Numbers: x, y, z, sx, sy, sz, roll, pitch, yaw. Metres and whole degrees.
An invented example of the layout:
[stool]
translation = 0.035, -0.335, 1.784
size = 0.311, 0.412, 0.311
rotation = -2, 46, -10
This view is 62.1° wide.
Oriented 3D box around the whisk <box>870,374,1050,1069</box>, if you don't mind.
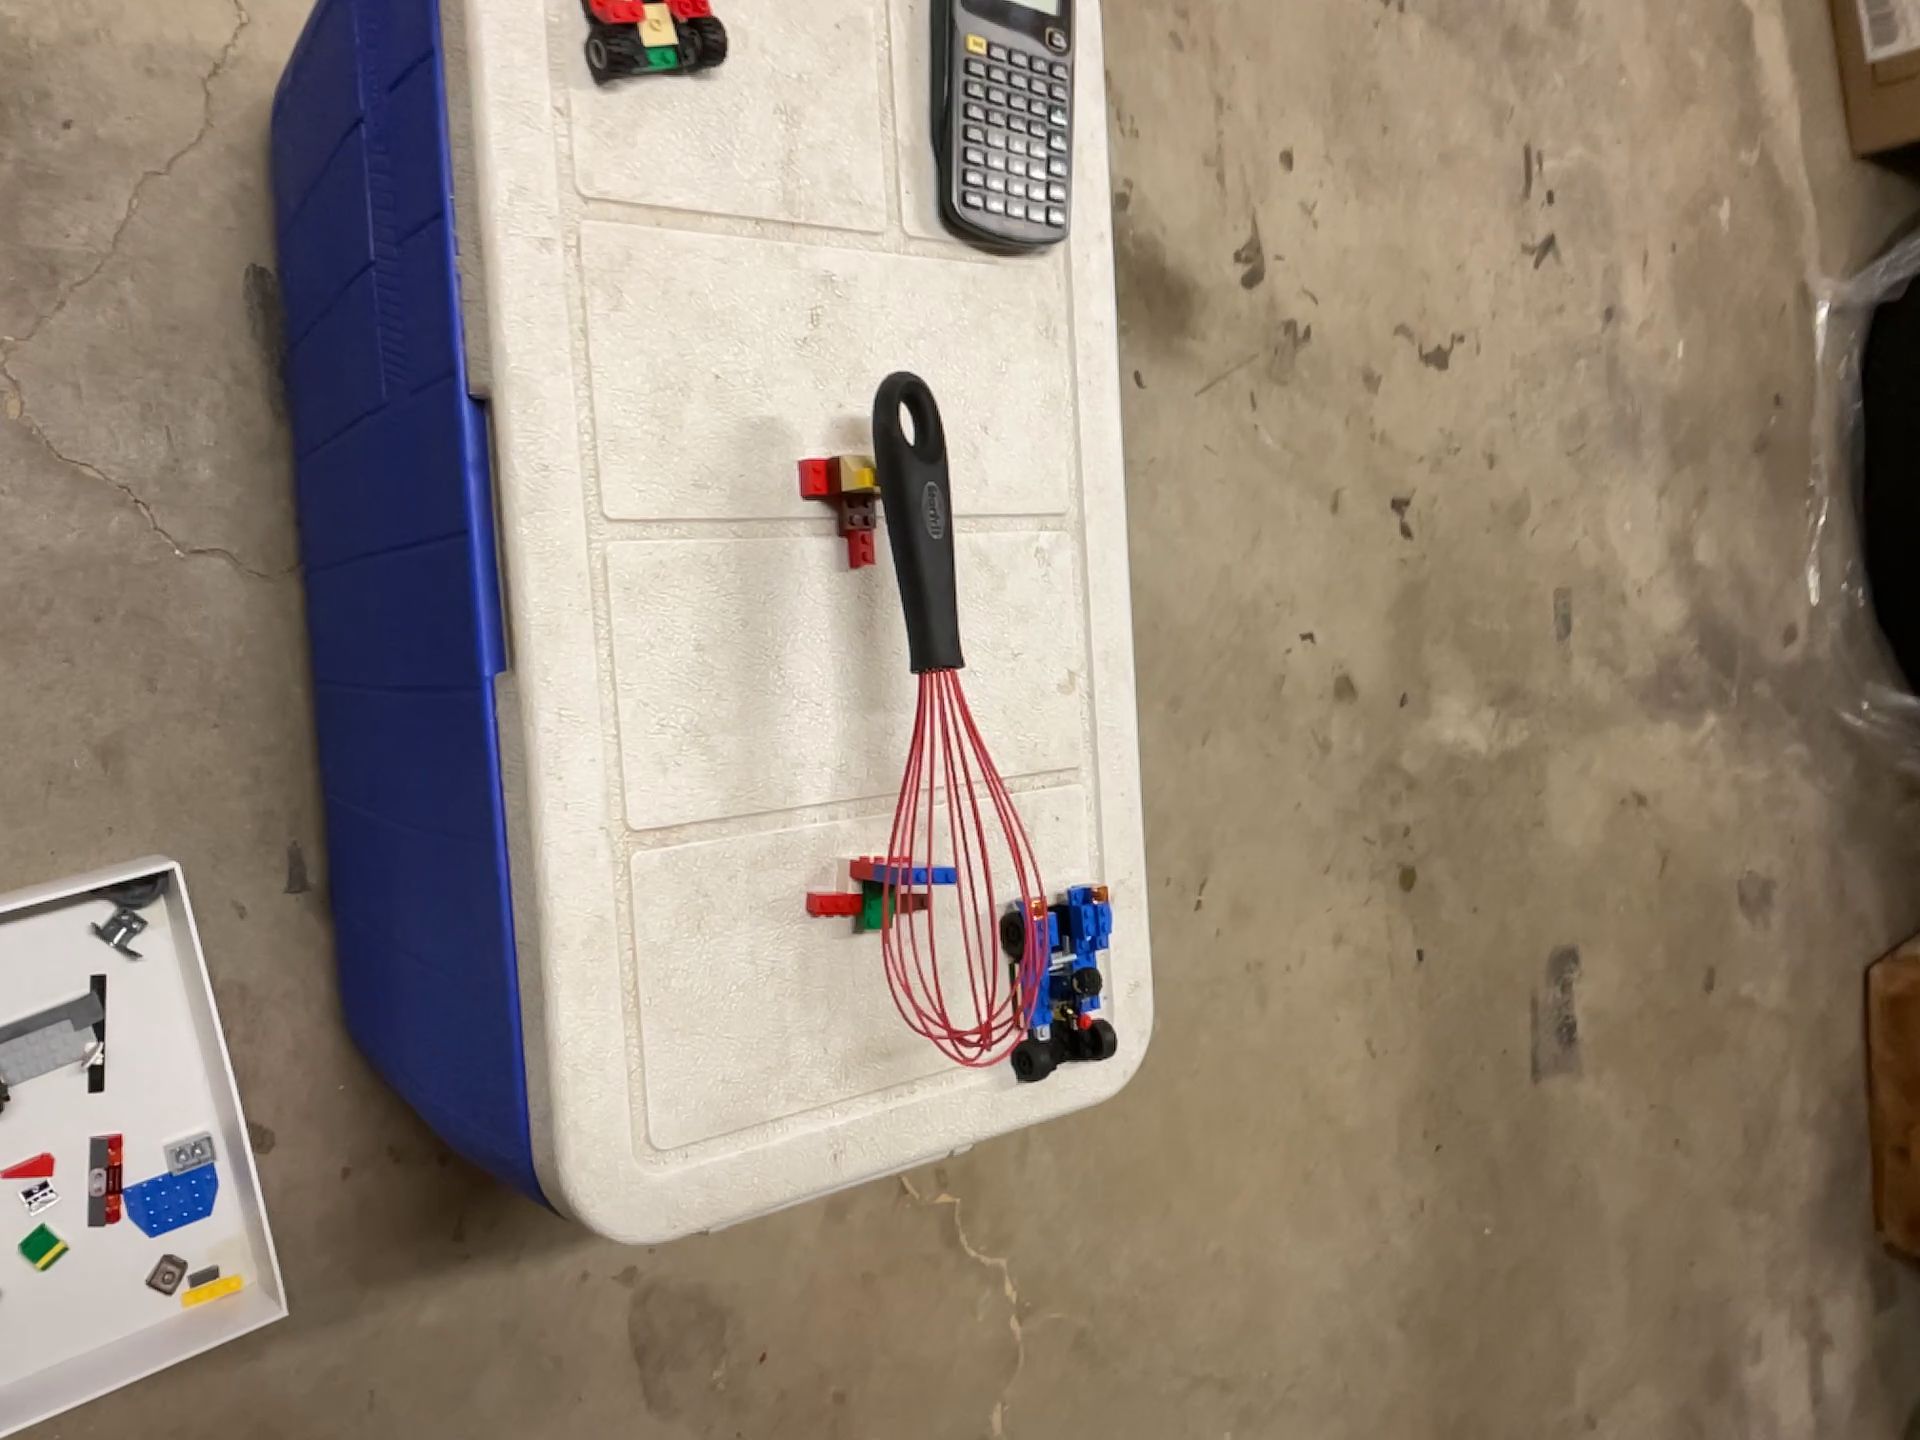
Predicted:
[whisk]
translation = -0.008, -0.002, 0.674
size = 0.073, 0.073, 0.296
rotation = -4, 84, -34
